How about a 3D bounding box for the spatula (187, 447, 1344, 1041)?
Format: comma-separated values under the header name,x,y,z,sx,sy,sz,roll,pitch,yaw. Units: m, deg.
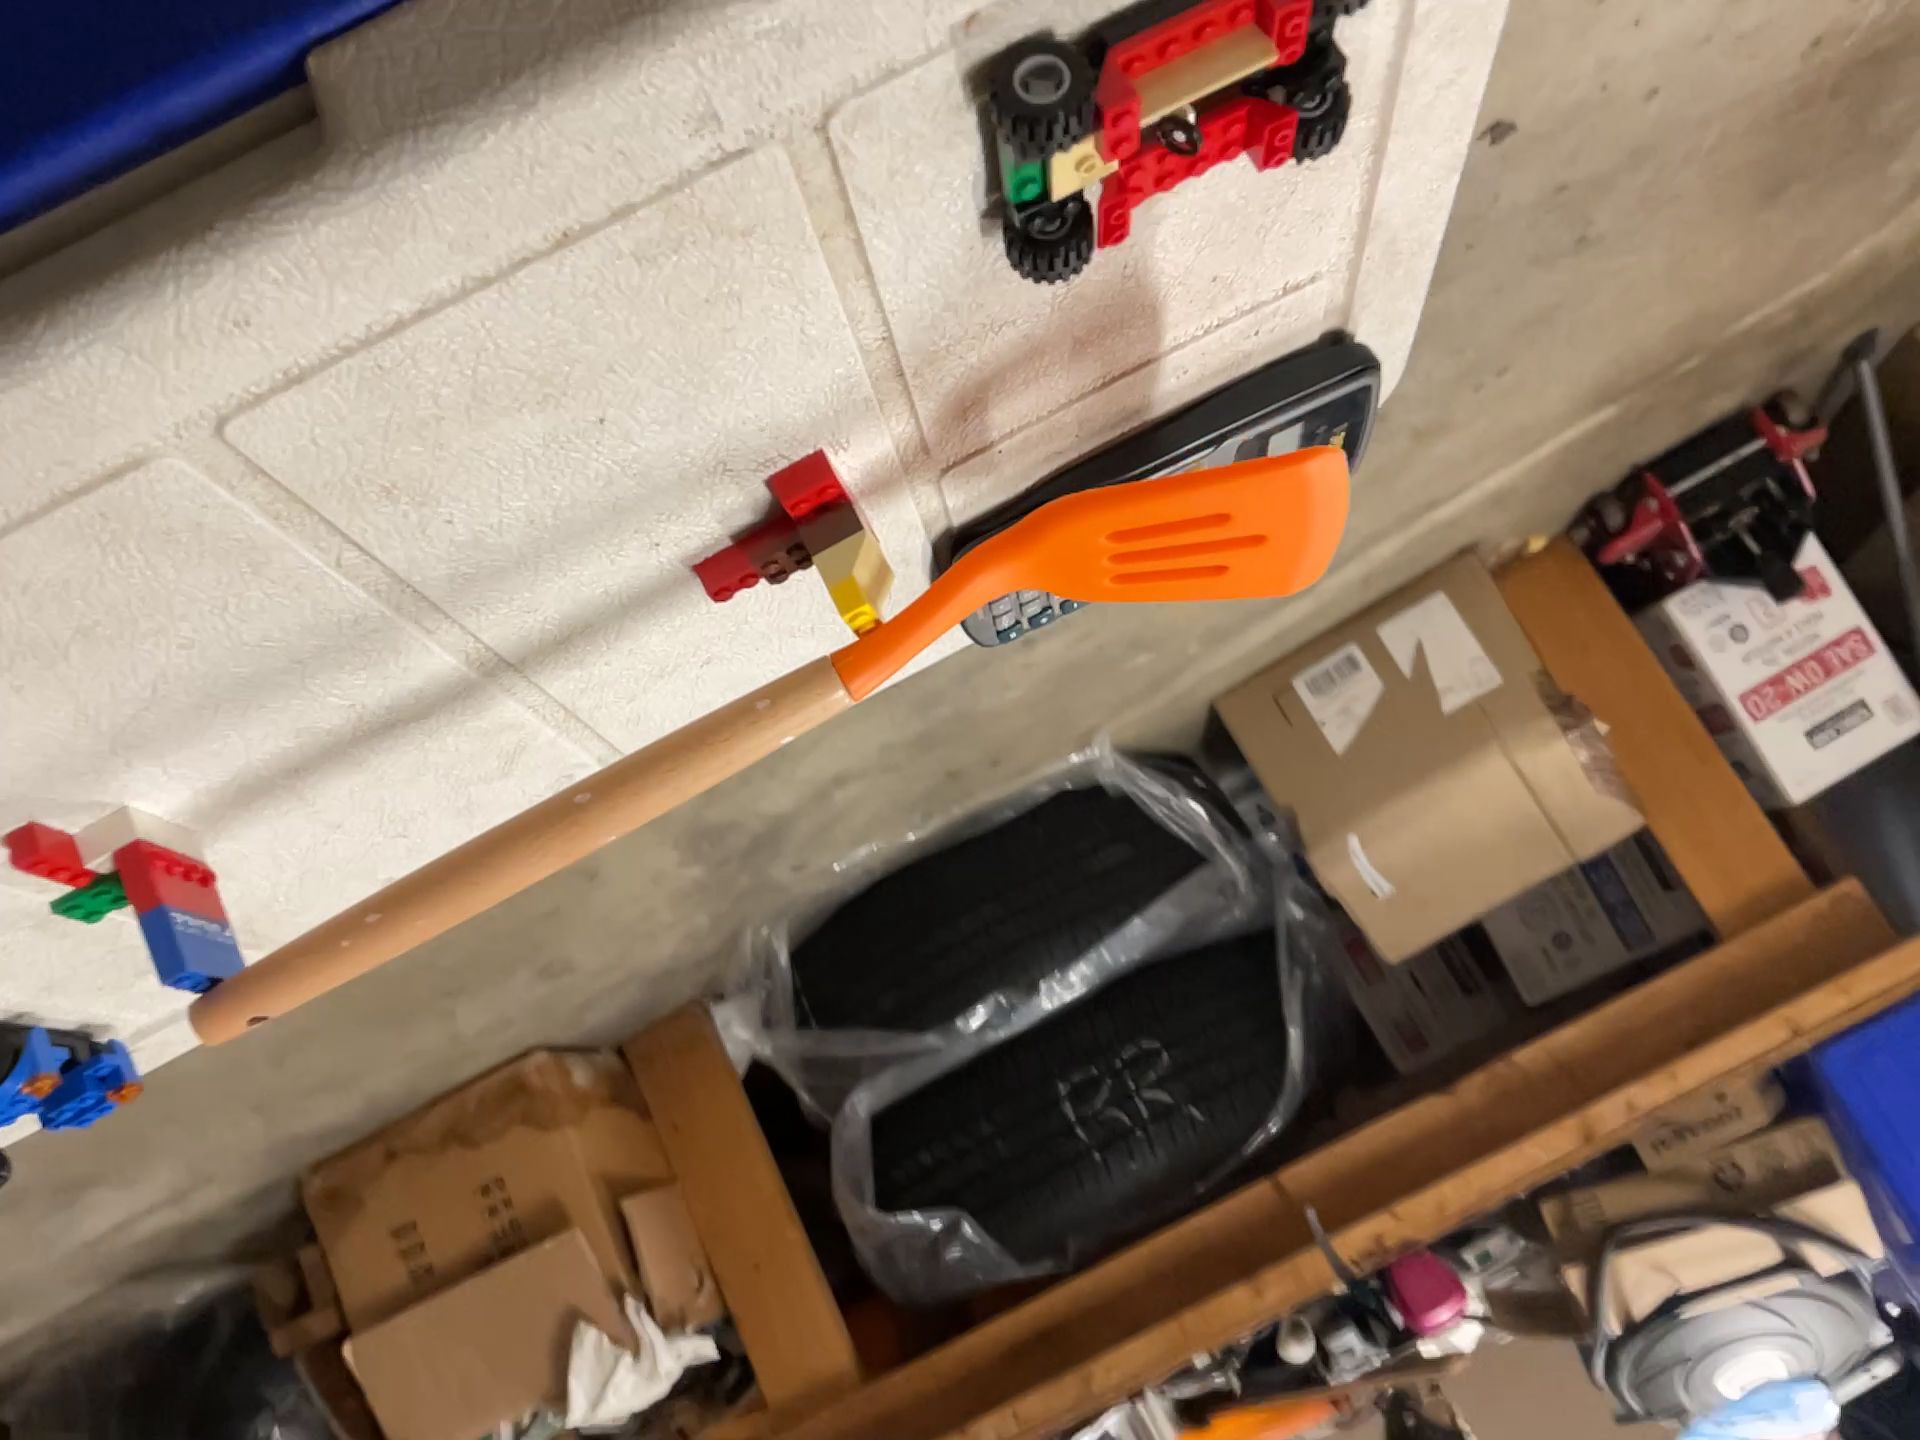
name,x,y,z,sx,sy,sz,roll,pitch,yaw
spatula,-0.050,0.008,0.417,0.322,0.041,0.081,-28,159,-4
